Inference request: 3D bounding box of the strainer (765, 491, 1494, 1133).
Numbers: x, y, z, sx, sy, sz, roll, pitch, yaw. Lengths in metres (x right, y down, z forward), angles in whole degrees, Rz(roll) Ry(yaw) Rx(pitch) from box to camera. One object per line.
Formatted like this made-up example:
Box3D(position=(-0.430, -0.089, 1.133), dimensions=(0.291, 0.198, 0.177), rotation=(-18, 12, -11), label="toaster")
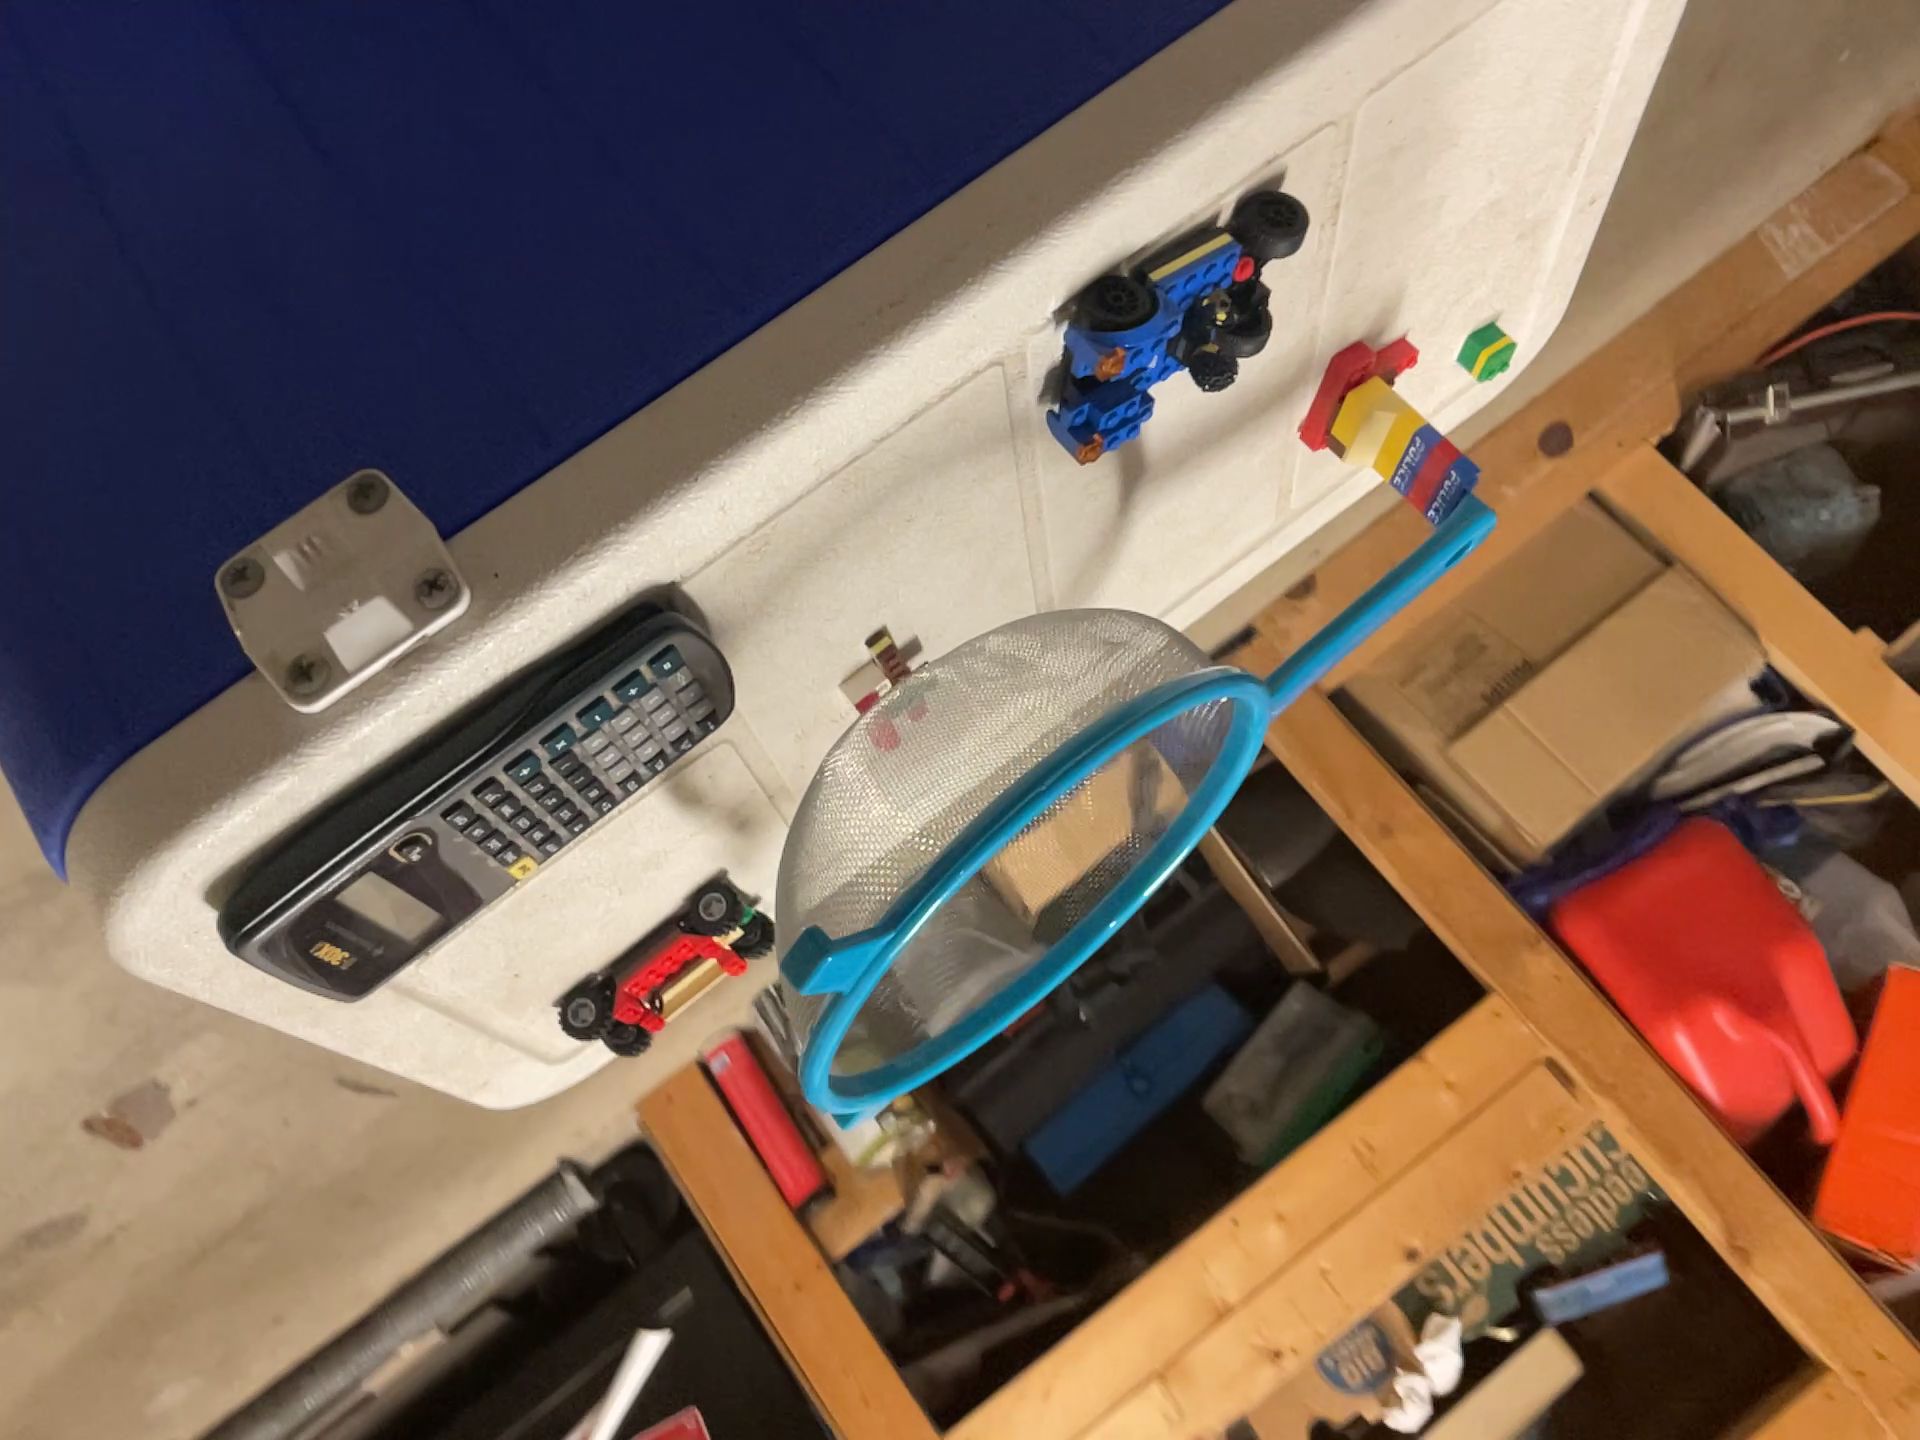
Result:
Box3D(position=(0.052, -0.004, 0.582), dimensions=(0.340, 0.095, 0.210), rotation=(-39, 159, -17), label="strainer")
